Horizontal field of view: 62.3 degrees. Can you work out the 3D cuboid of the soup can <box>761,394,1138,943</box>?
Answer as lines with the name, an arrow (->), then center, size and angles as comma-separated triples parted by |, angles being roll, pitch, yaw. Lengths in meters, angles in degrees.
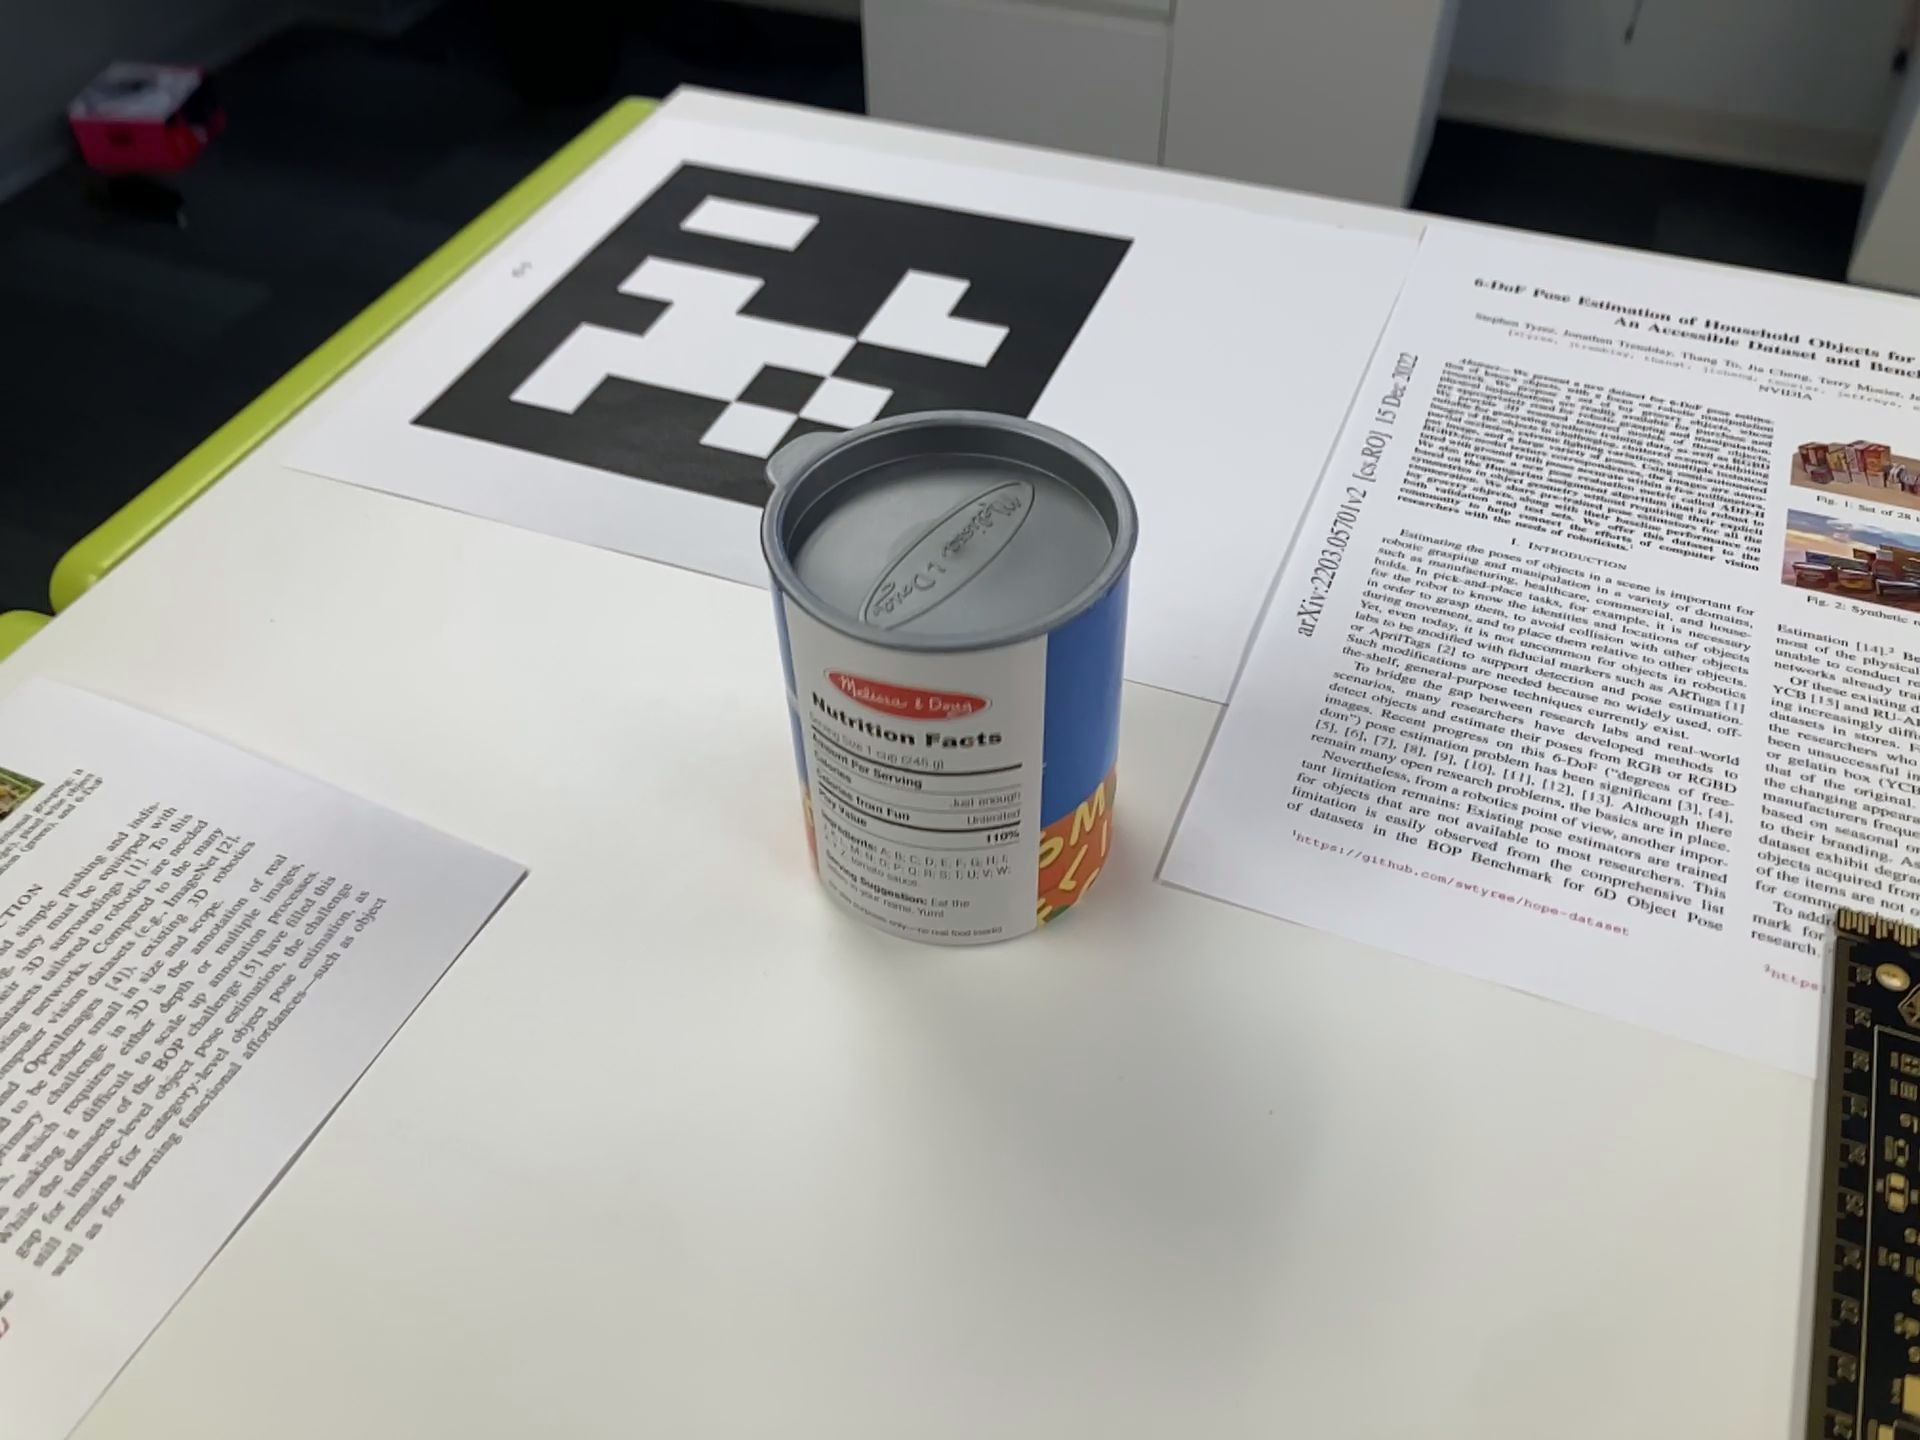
soup can -> 0.000, -0.009, 0.310 | 0.071, 0.084, 0.071 | -1, 46, 1
